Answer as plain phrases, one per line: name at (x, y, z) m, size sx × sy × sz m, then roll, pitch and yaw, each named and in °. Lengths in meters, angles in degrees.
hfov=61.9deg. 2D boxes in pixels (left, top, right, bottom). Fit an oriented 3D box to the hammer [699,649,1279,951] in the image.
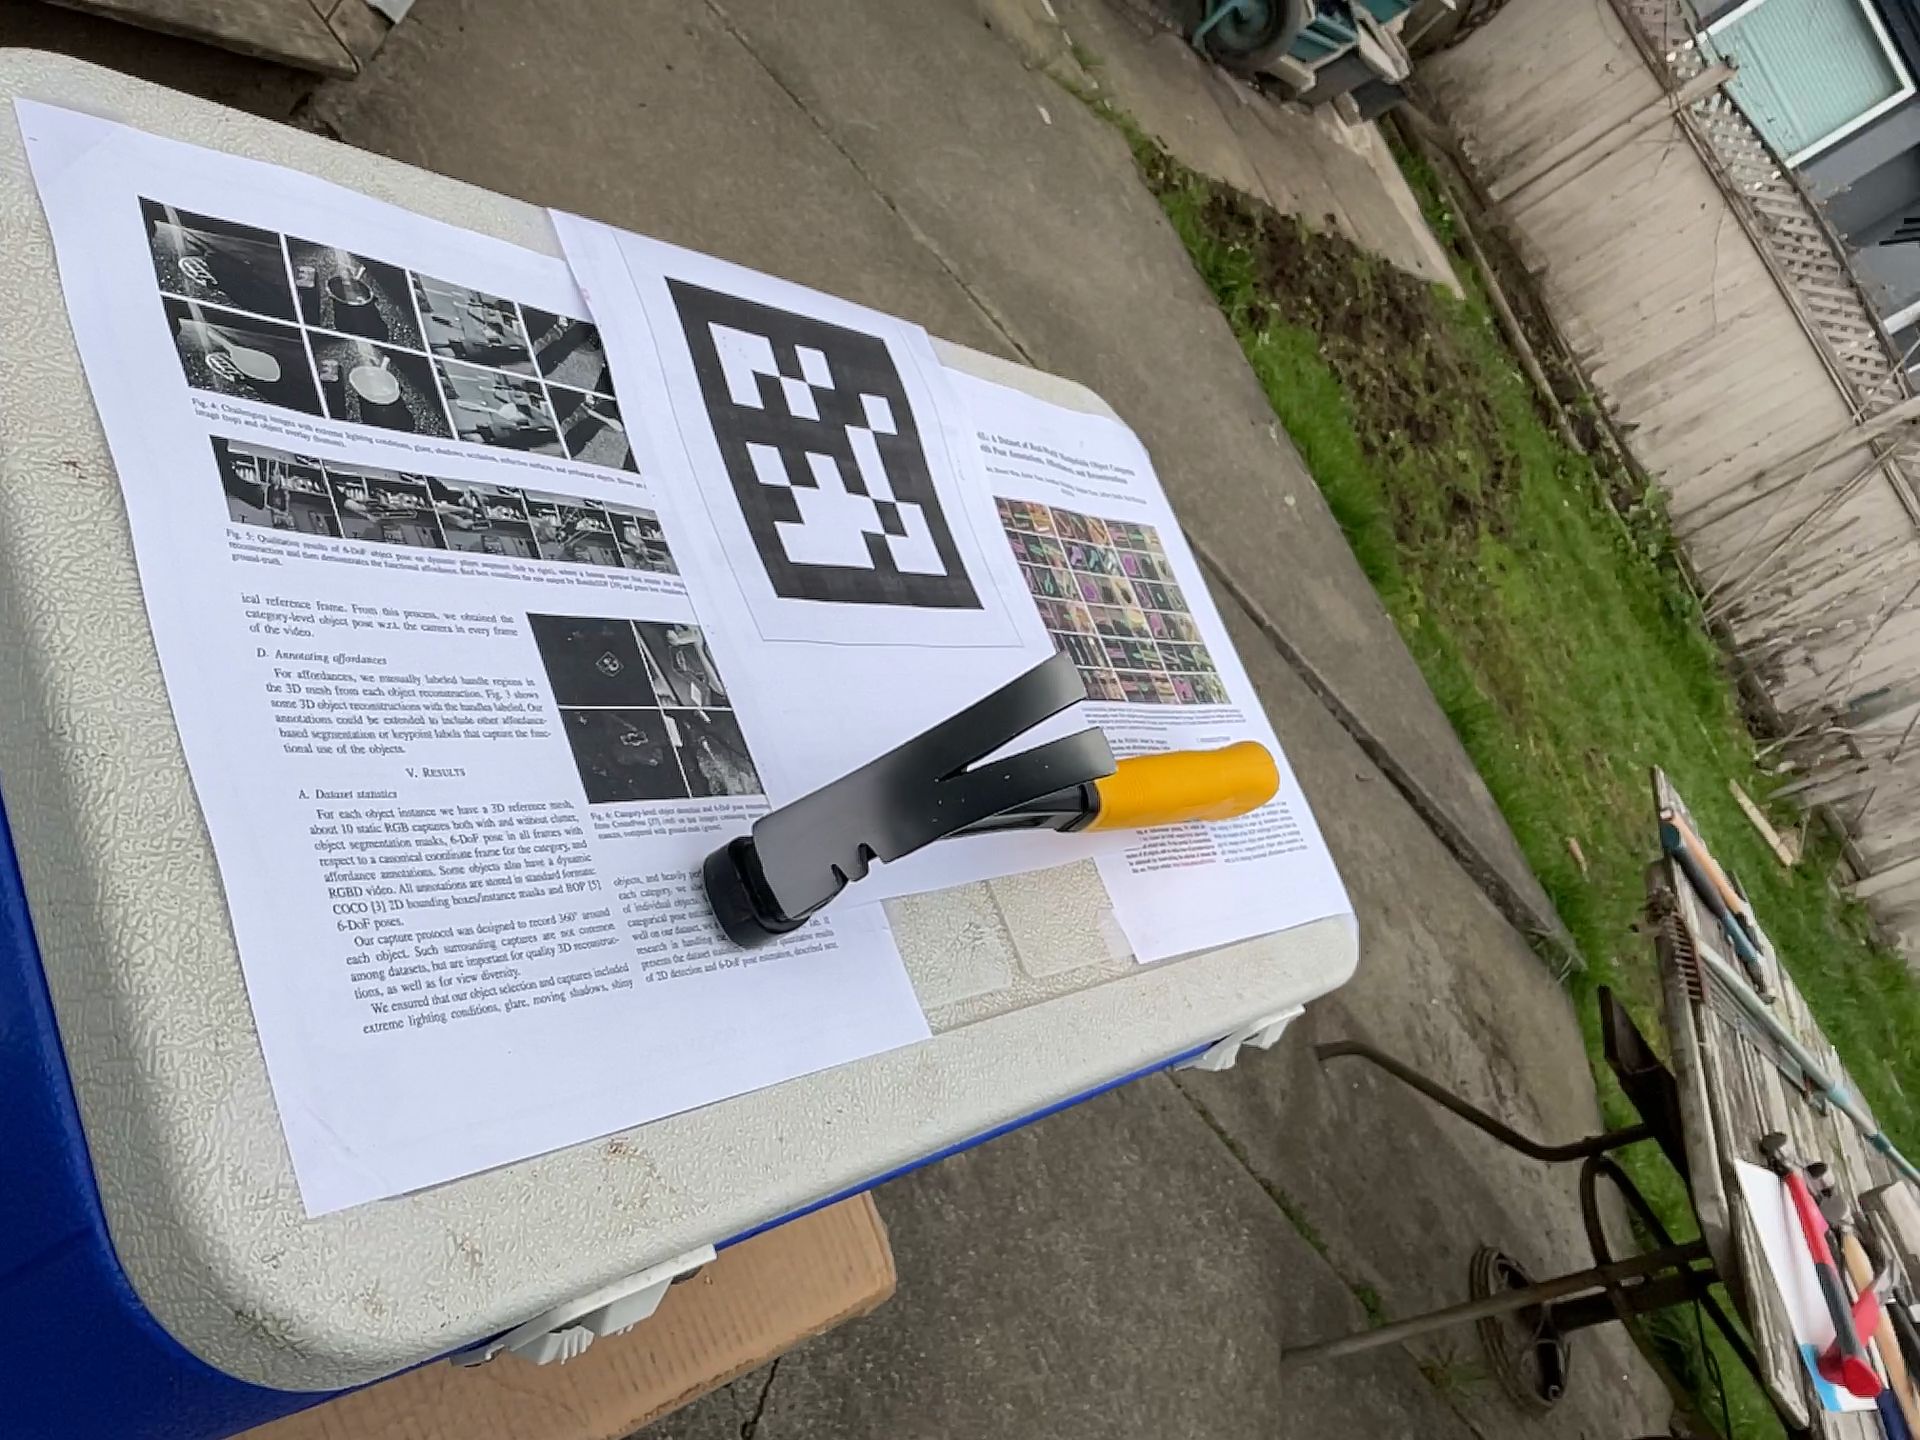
hammer at (0.055, 0.024, 0.567) m, size 0.336 × 0.127 × 0.034 m, roll -1°, pitch 64°, yaw -62°
